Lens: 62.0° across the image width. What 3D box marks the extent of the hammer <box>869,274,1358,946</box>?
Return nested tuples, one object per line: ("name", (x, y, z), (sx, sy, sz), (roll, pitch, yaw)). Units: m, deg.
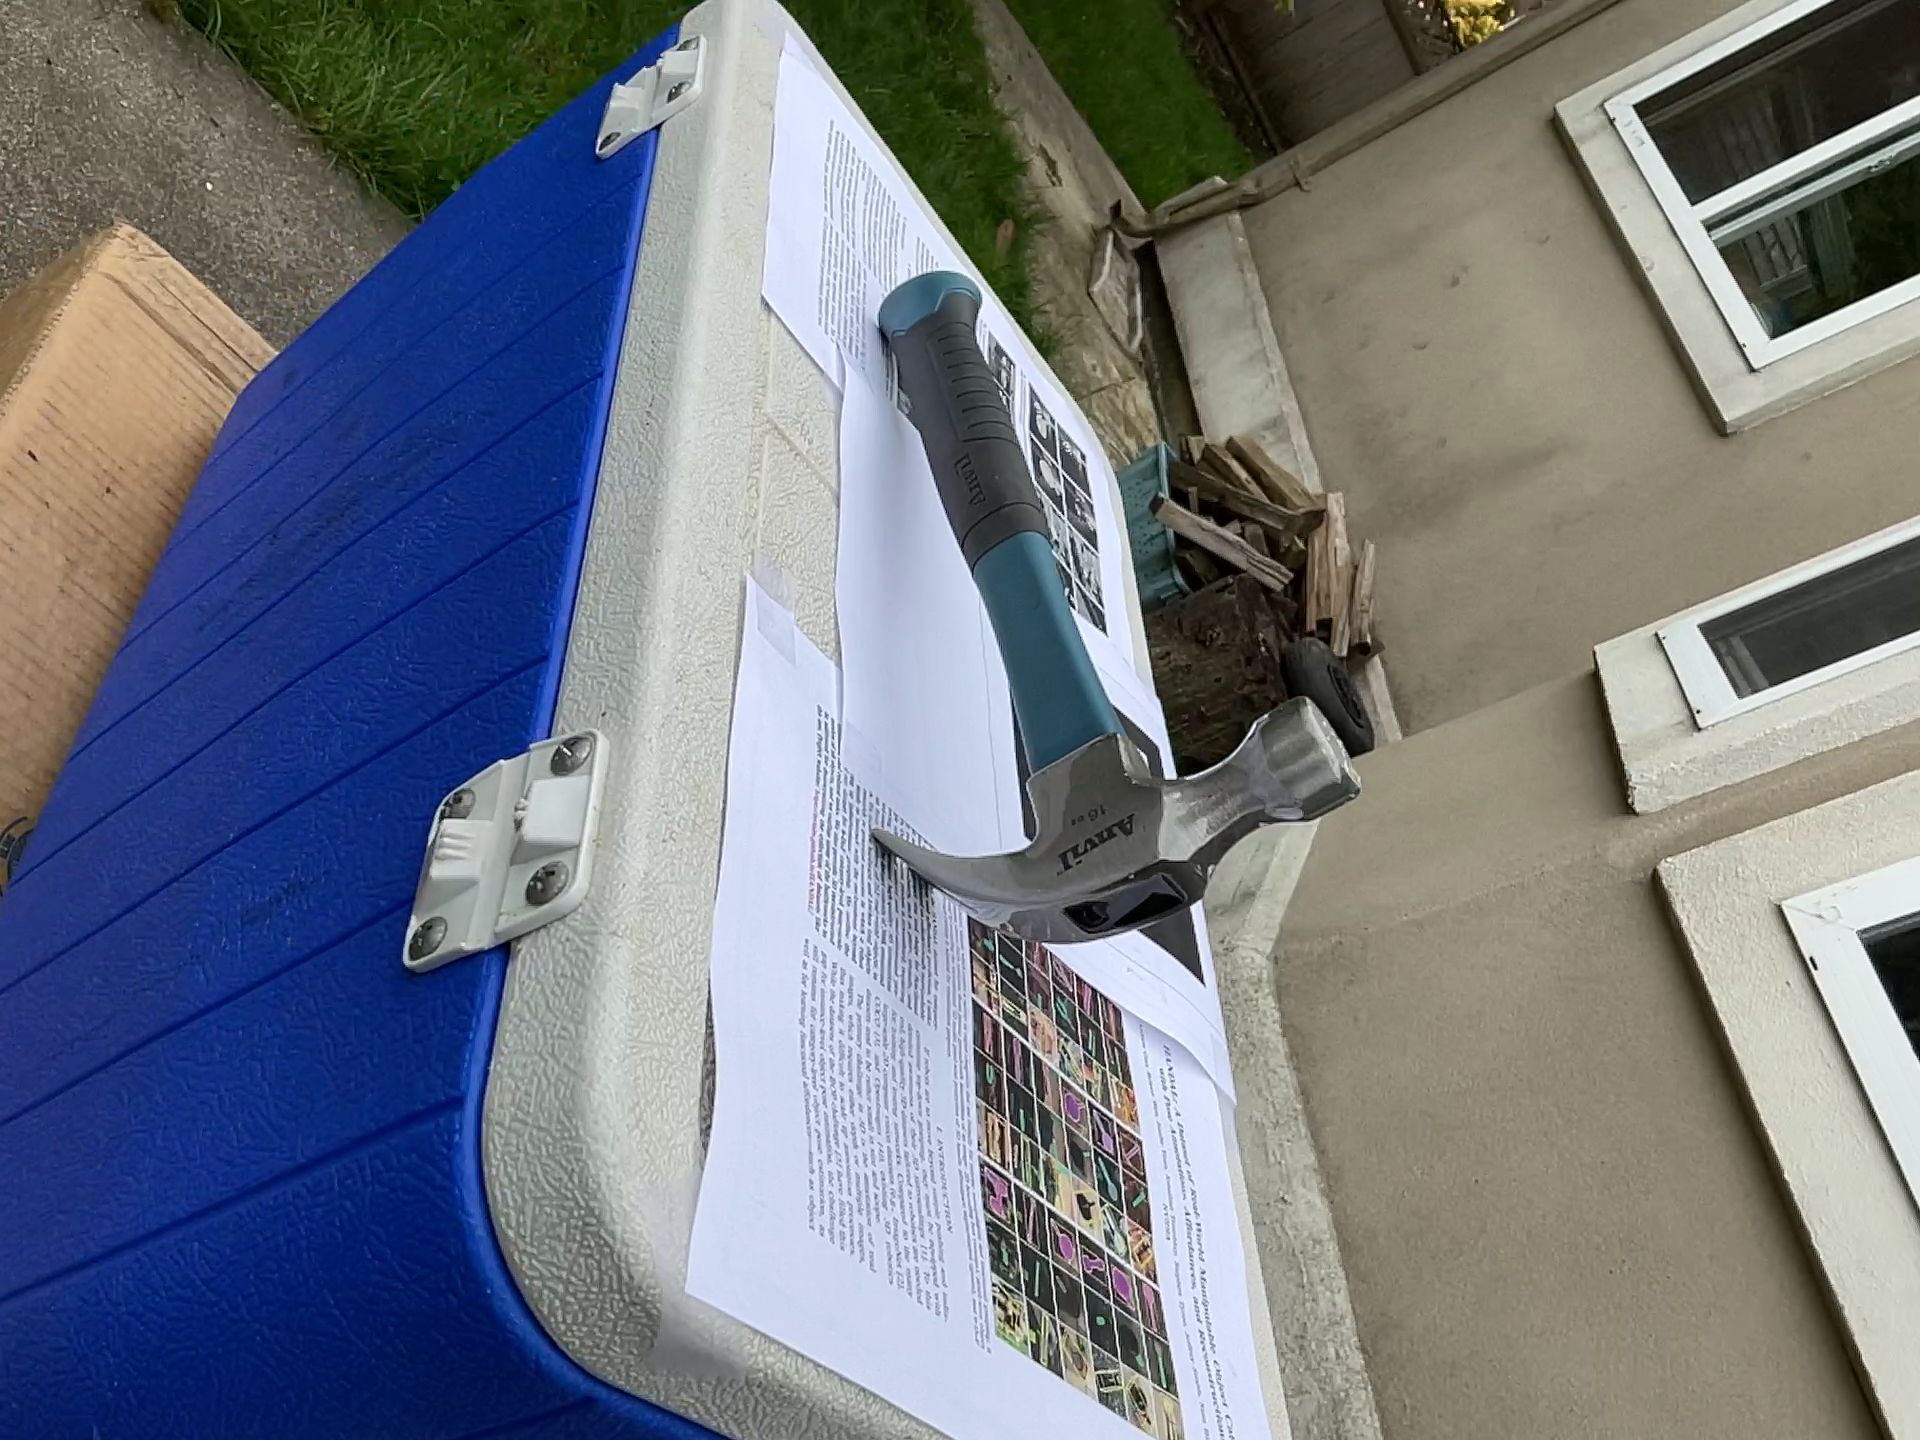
("hammer", (0.015, -0.061, 0.534), (0.033, 0.128, 0.331), (46, 19, -40))
